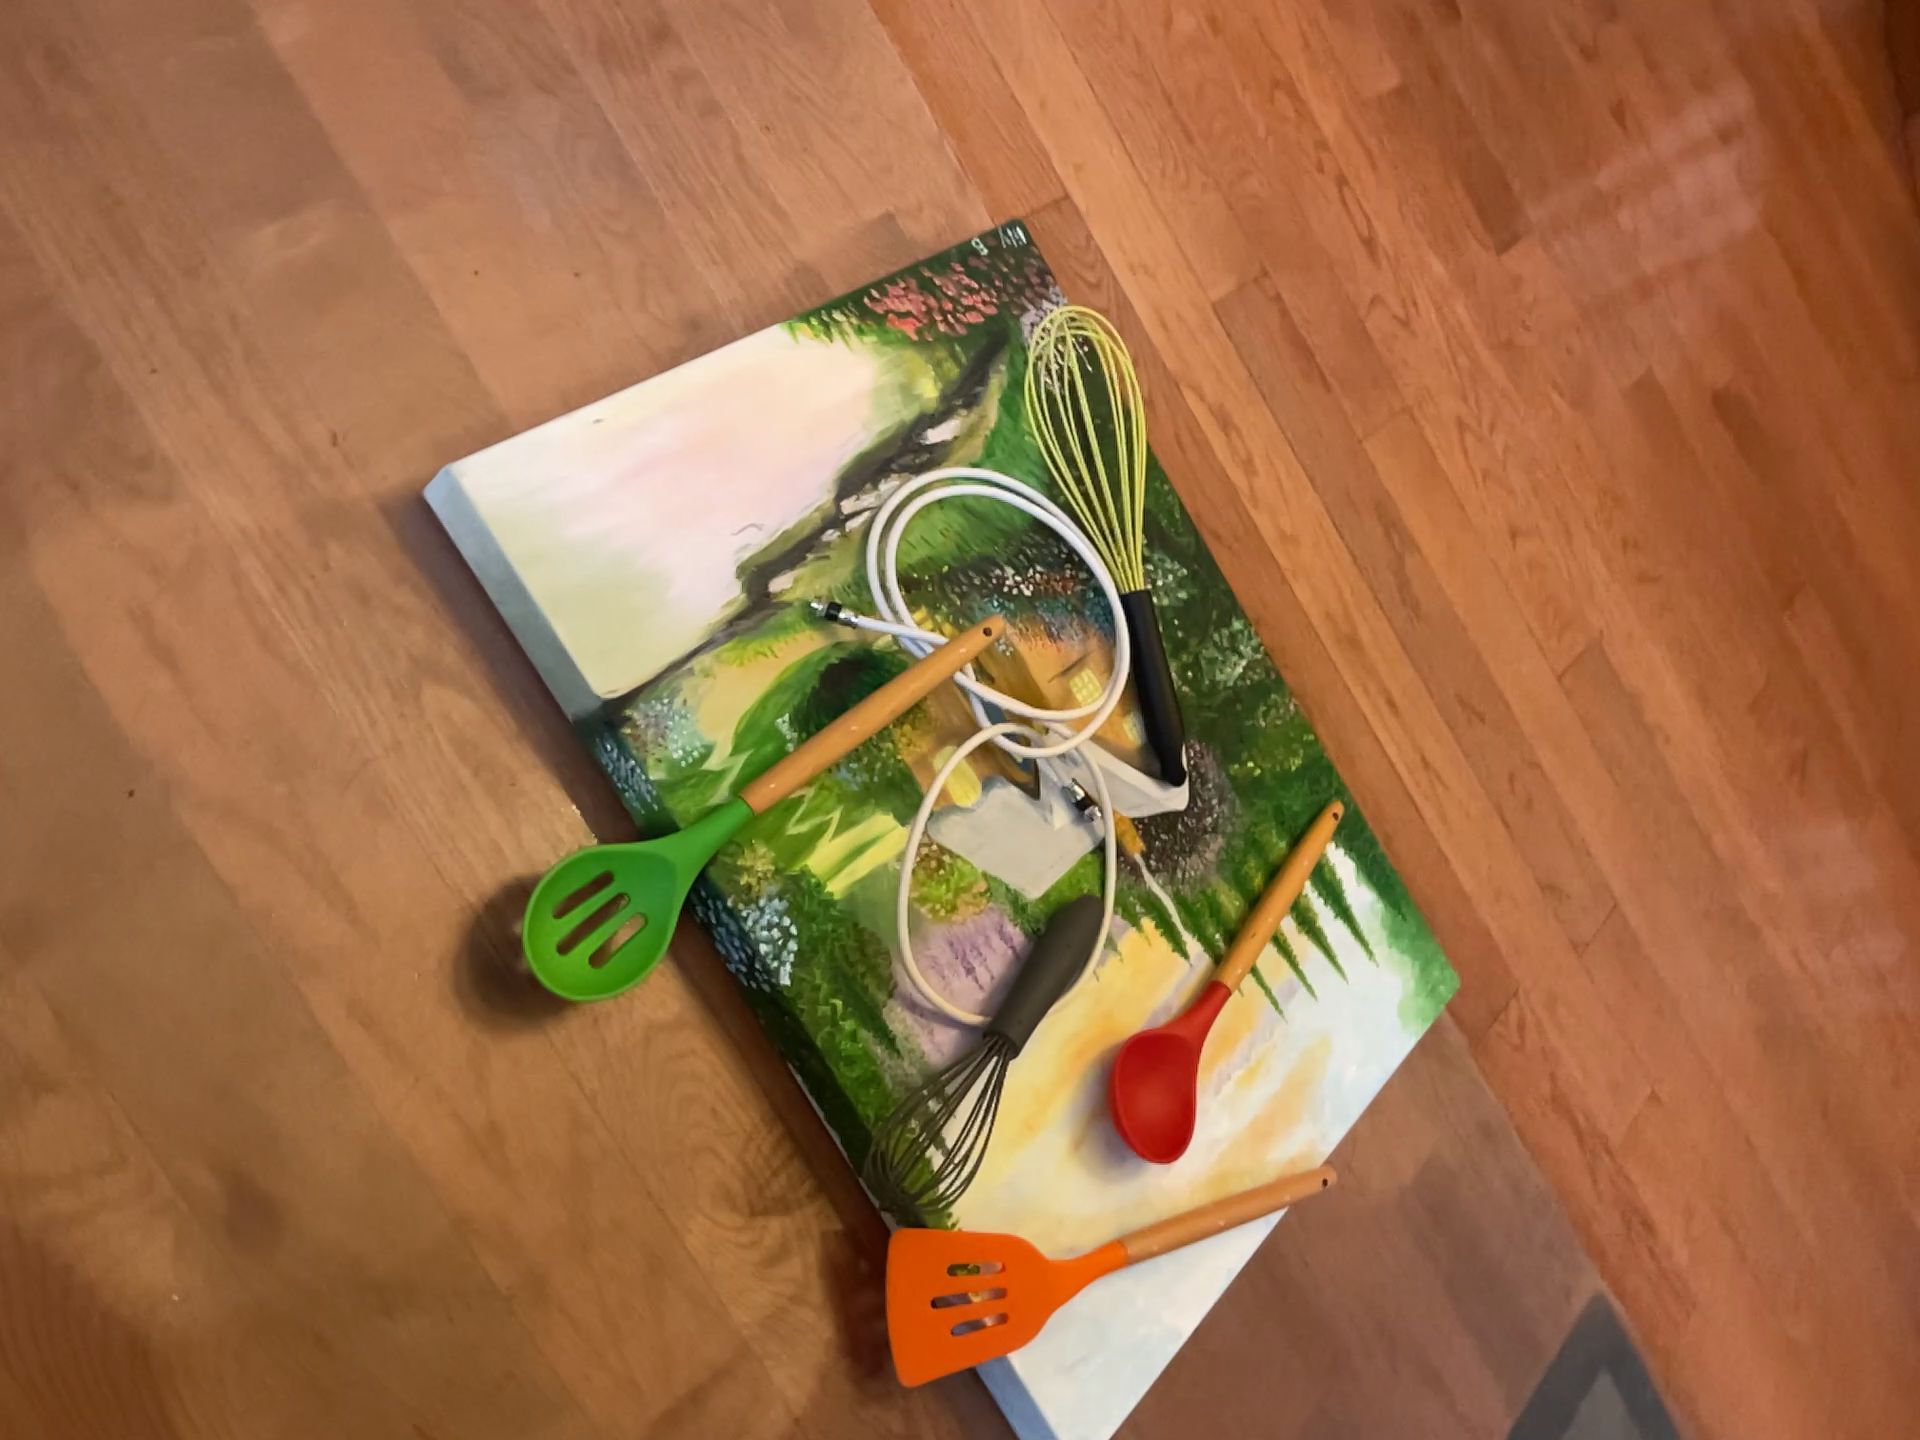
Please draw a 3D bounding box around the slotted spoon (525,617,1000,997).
[{"bbox_3d":[-0.092,0.033,0.822,0.314,0.031,0.070,-38,98,-27],"label":"slotted spoon"}]

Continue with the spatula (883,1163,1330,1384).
[{"bbox_3d":[0.098,0.292,0.899,0.322,0.041,0.081,-4,88,-39],"label":"spatula"}]

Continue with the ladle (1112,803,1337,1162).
[{"bbox_3d":[0.172,0.150,0.991,0.069,0.031,0.315,53,49,-12],"label":"ladle"}]

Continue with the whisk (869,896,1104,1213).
[{"bbox_3d":[0.023,0.172,0.858,0.239,0.055,0.055,-49,116,-43],"label":"whisk"}]

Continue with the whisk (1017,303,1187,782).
[{"bbox_3d":[0.099,-0.111,1.009,0.080,0.067,0.312,-14,89,-34],"label":"whisk"}]
